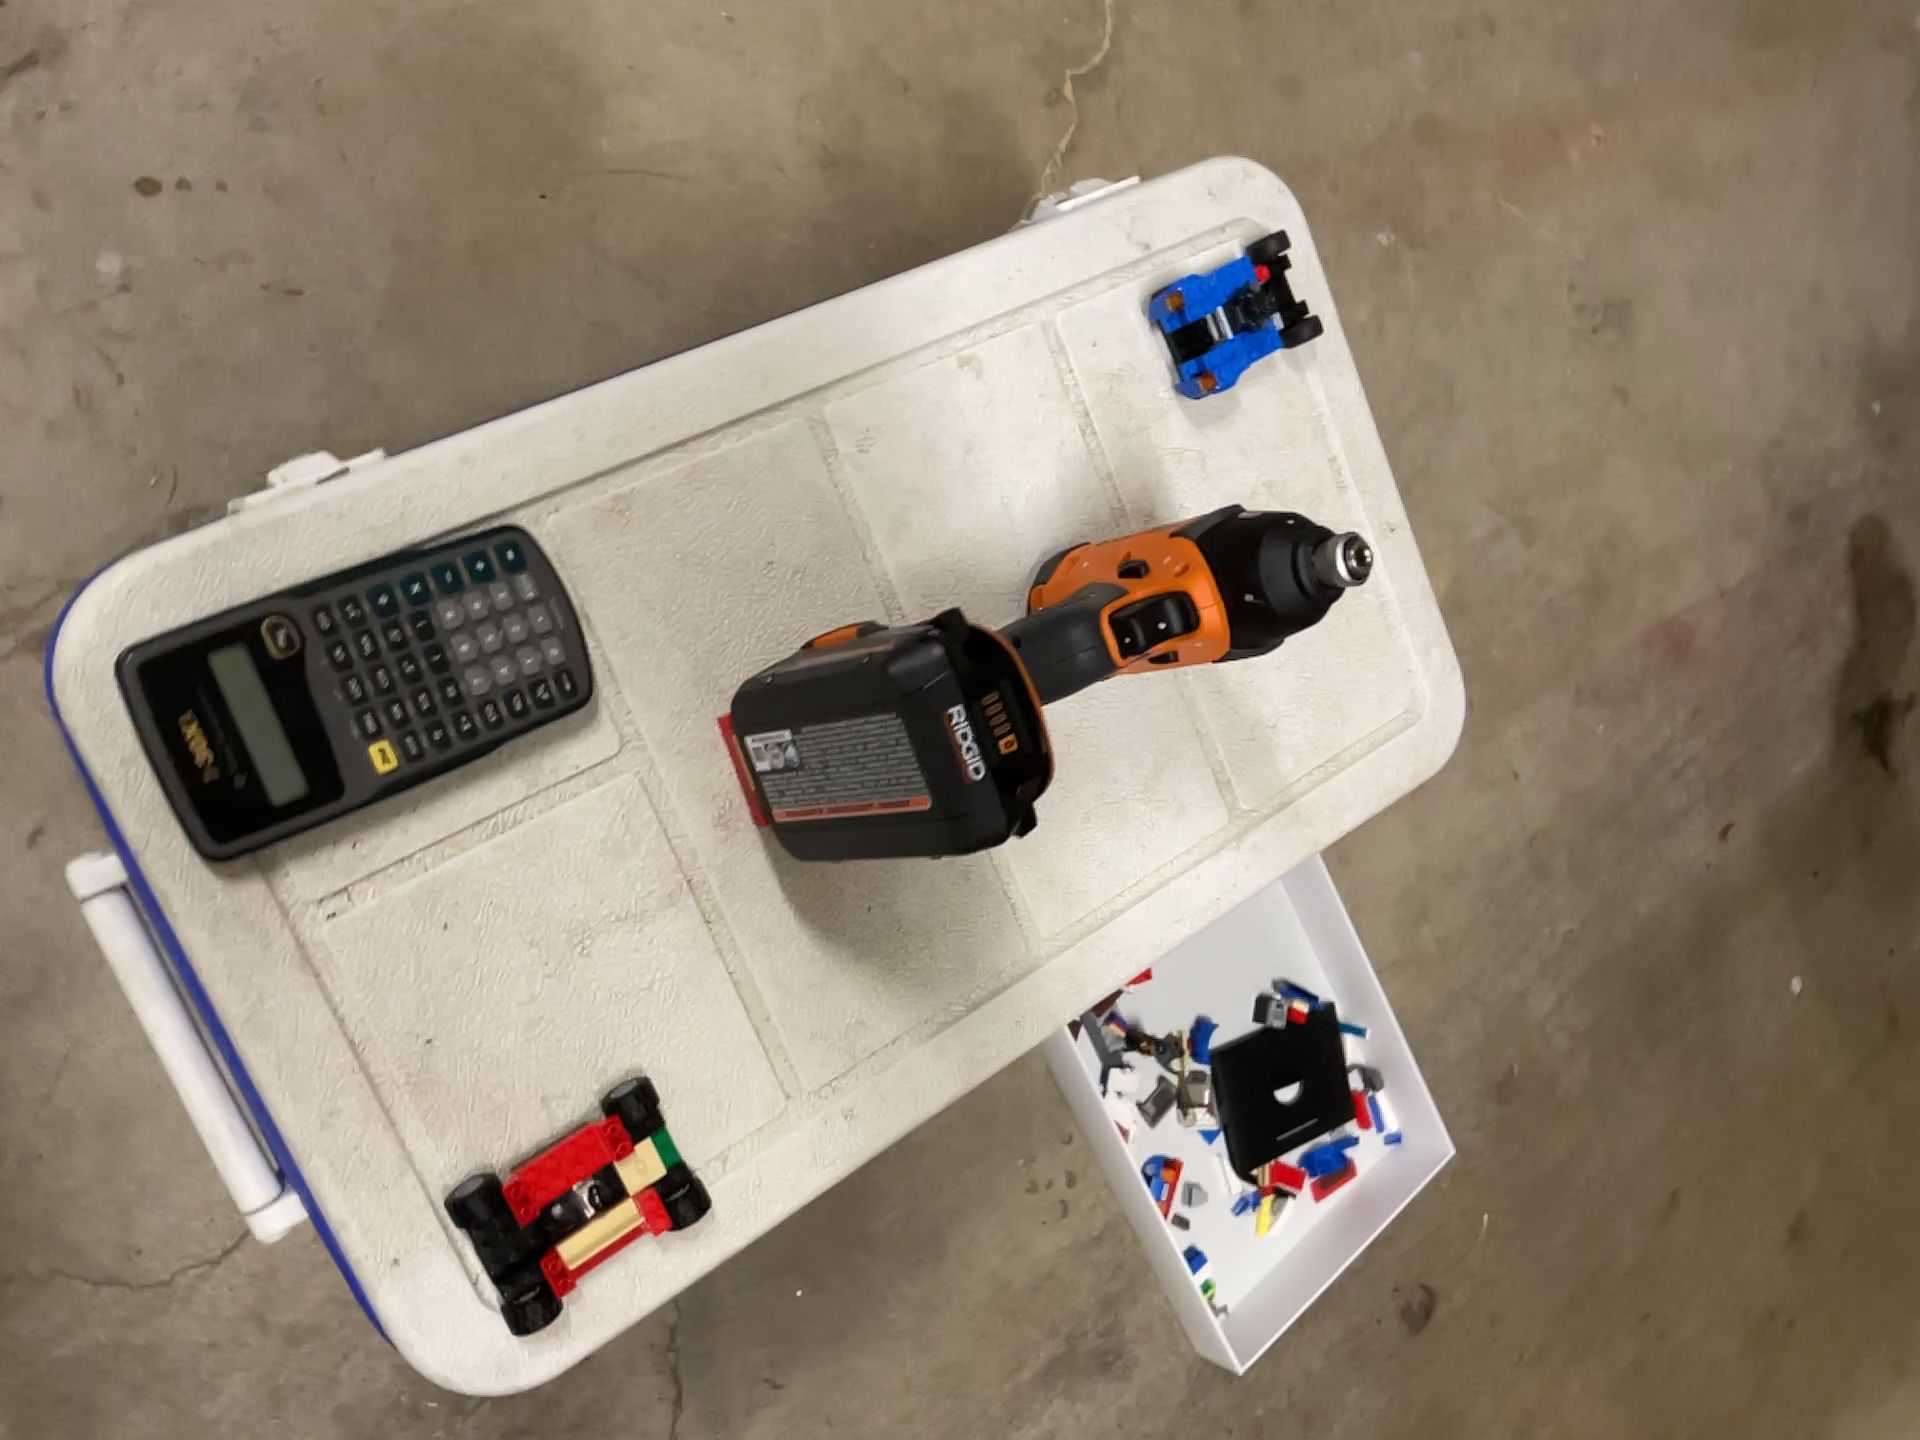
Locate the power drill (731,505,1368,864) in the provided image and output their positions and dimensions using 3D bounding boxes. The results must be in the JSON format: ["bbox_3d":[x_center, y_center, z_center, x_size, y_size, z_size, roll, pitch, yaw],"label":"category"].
[{"bbox_3d":[0.044,-0.025,0.621,0.227,0.164,0.084,-28,102,-39],"label":"power drill"}]
